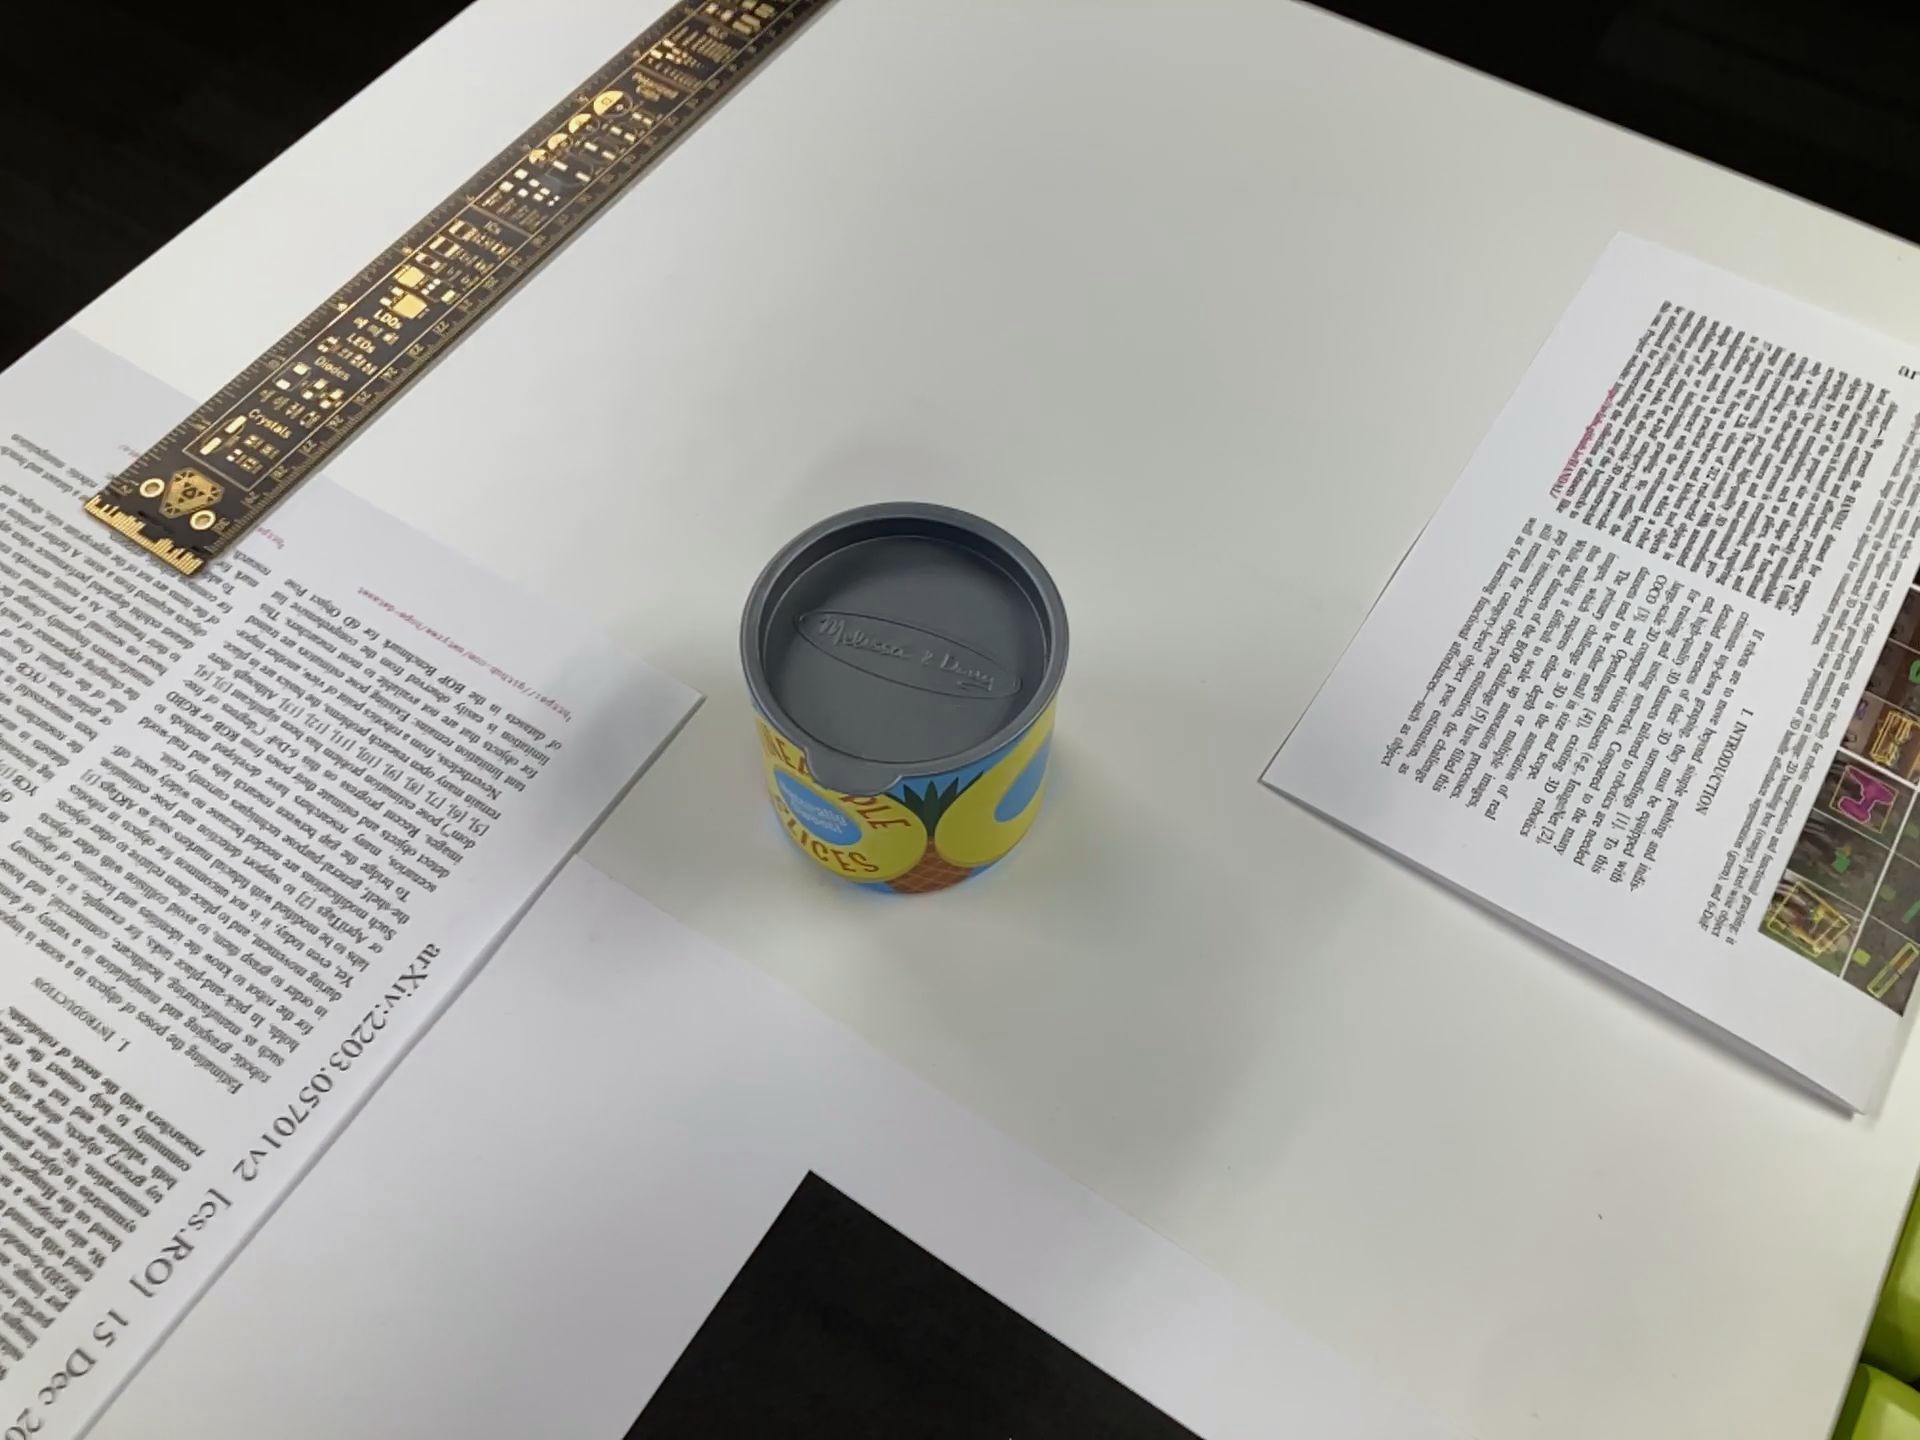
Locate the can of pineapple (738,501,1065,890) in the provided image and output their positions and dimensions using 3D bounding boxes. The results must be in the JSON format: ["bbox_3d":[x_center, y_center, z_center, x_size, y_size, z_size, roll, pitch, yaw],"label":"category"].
[{"bbox_3d":[-0.013,-0.003,0.343,0.071,0.058,0.071,0,60,0],"label":"can of pineapple"}]
